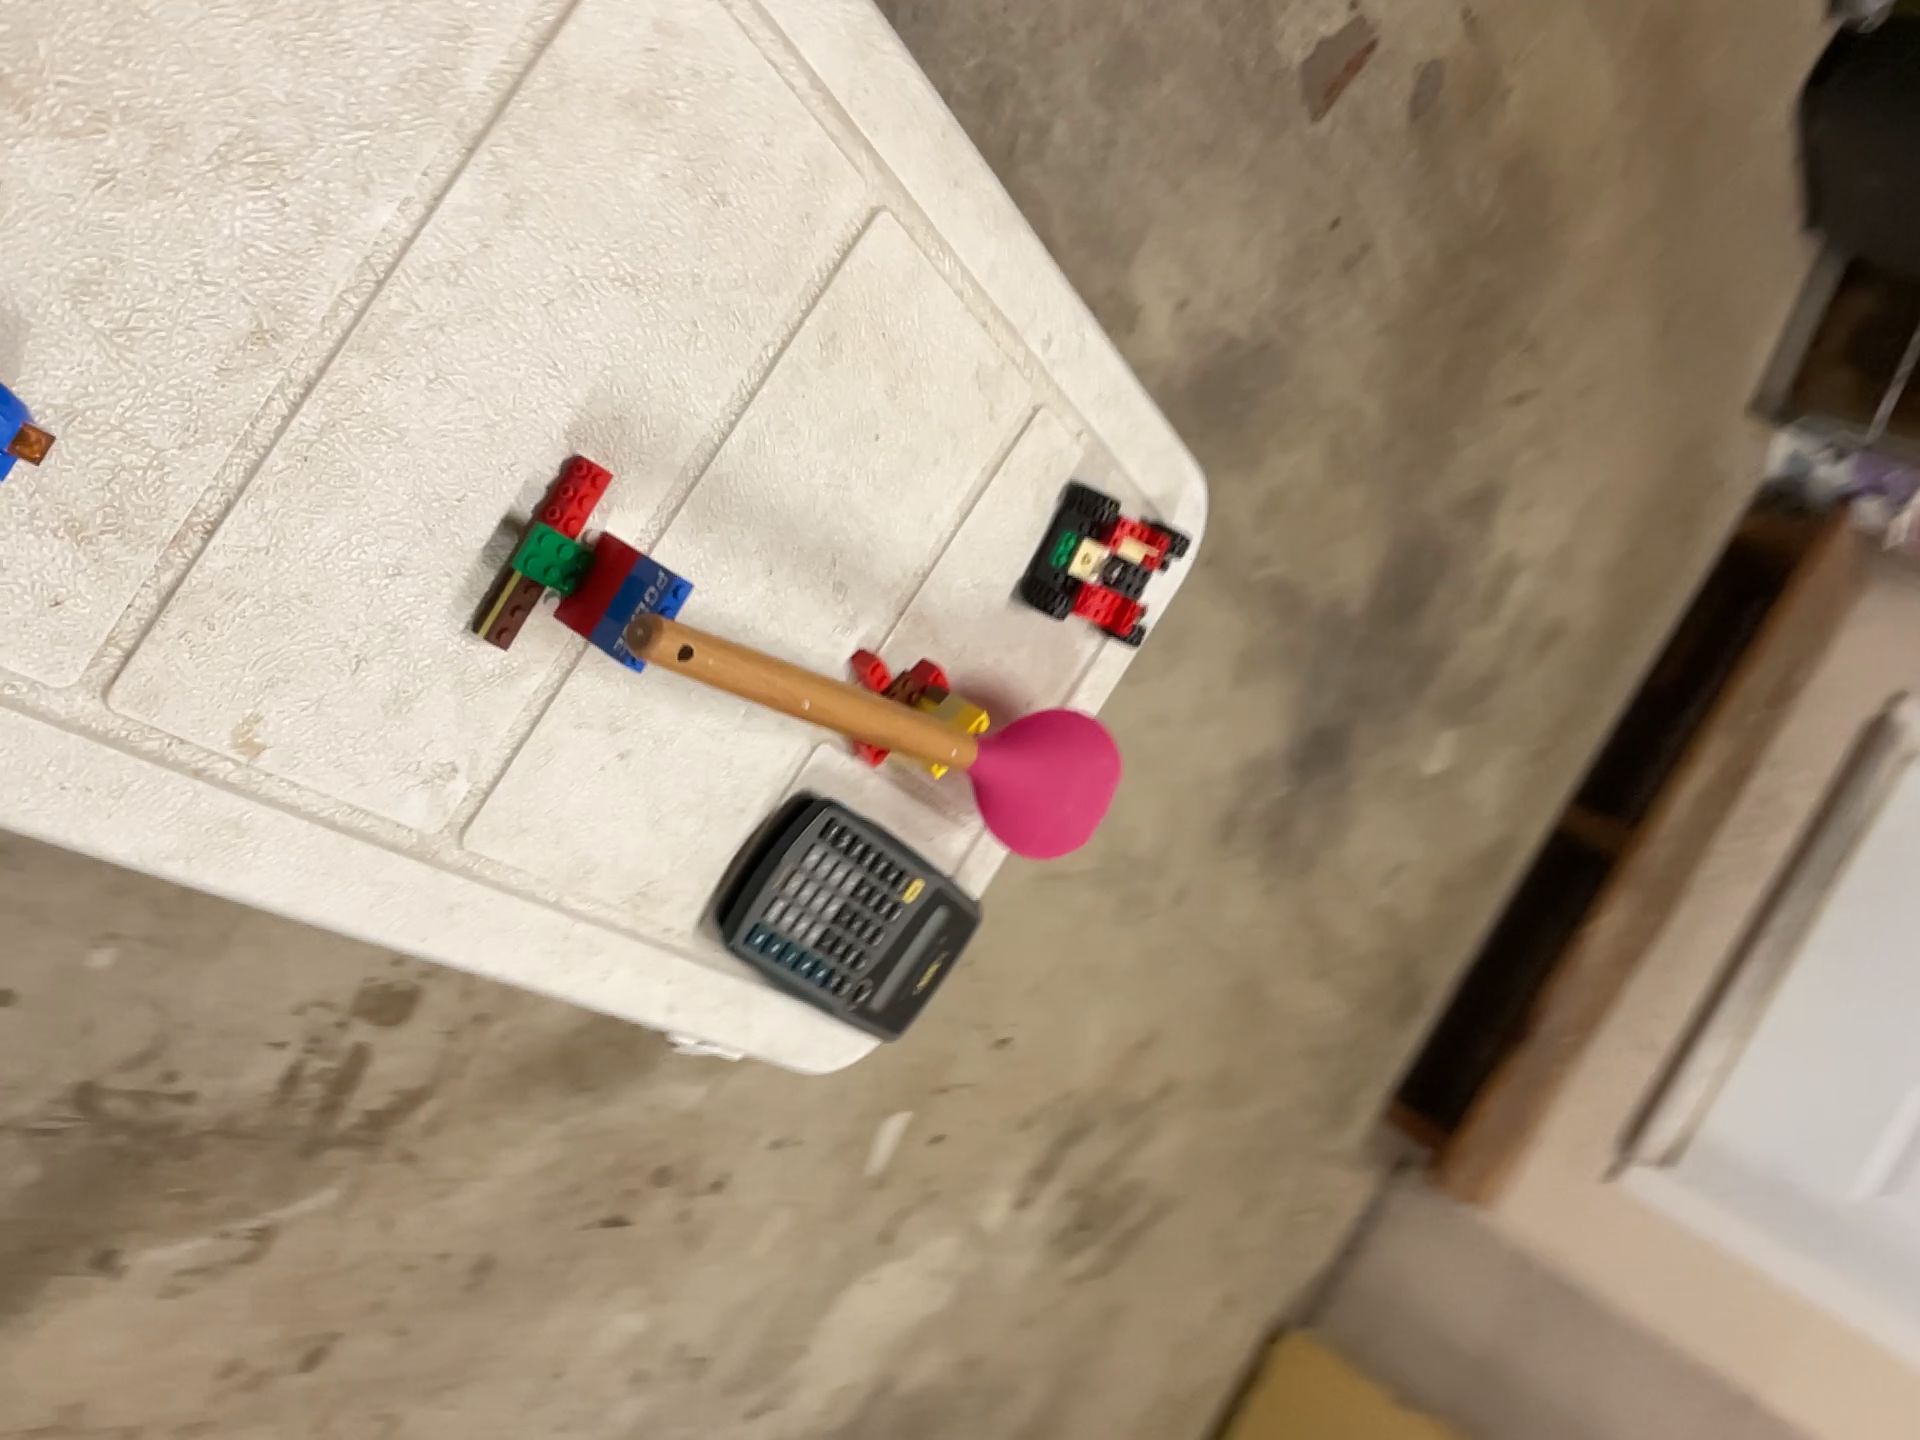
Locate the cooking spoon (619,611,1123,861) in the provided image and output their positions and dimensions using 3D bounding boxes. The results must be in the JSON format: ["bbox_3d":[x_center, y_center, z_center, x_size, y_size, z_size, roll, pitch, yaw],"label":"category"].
[{"bbox_3d":[-0.013,0.007,0.598,0.319,0.017,0.069,22,93,-56],"label":"cooking spoon"}]
